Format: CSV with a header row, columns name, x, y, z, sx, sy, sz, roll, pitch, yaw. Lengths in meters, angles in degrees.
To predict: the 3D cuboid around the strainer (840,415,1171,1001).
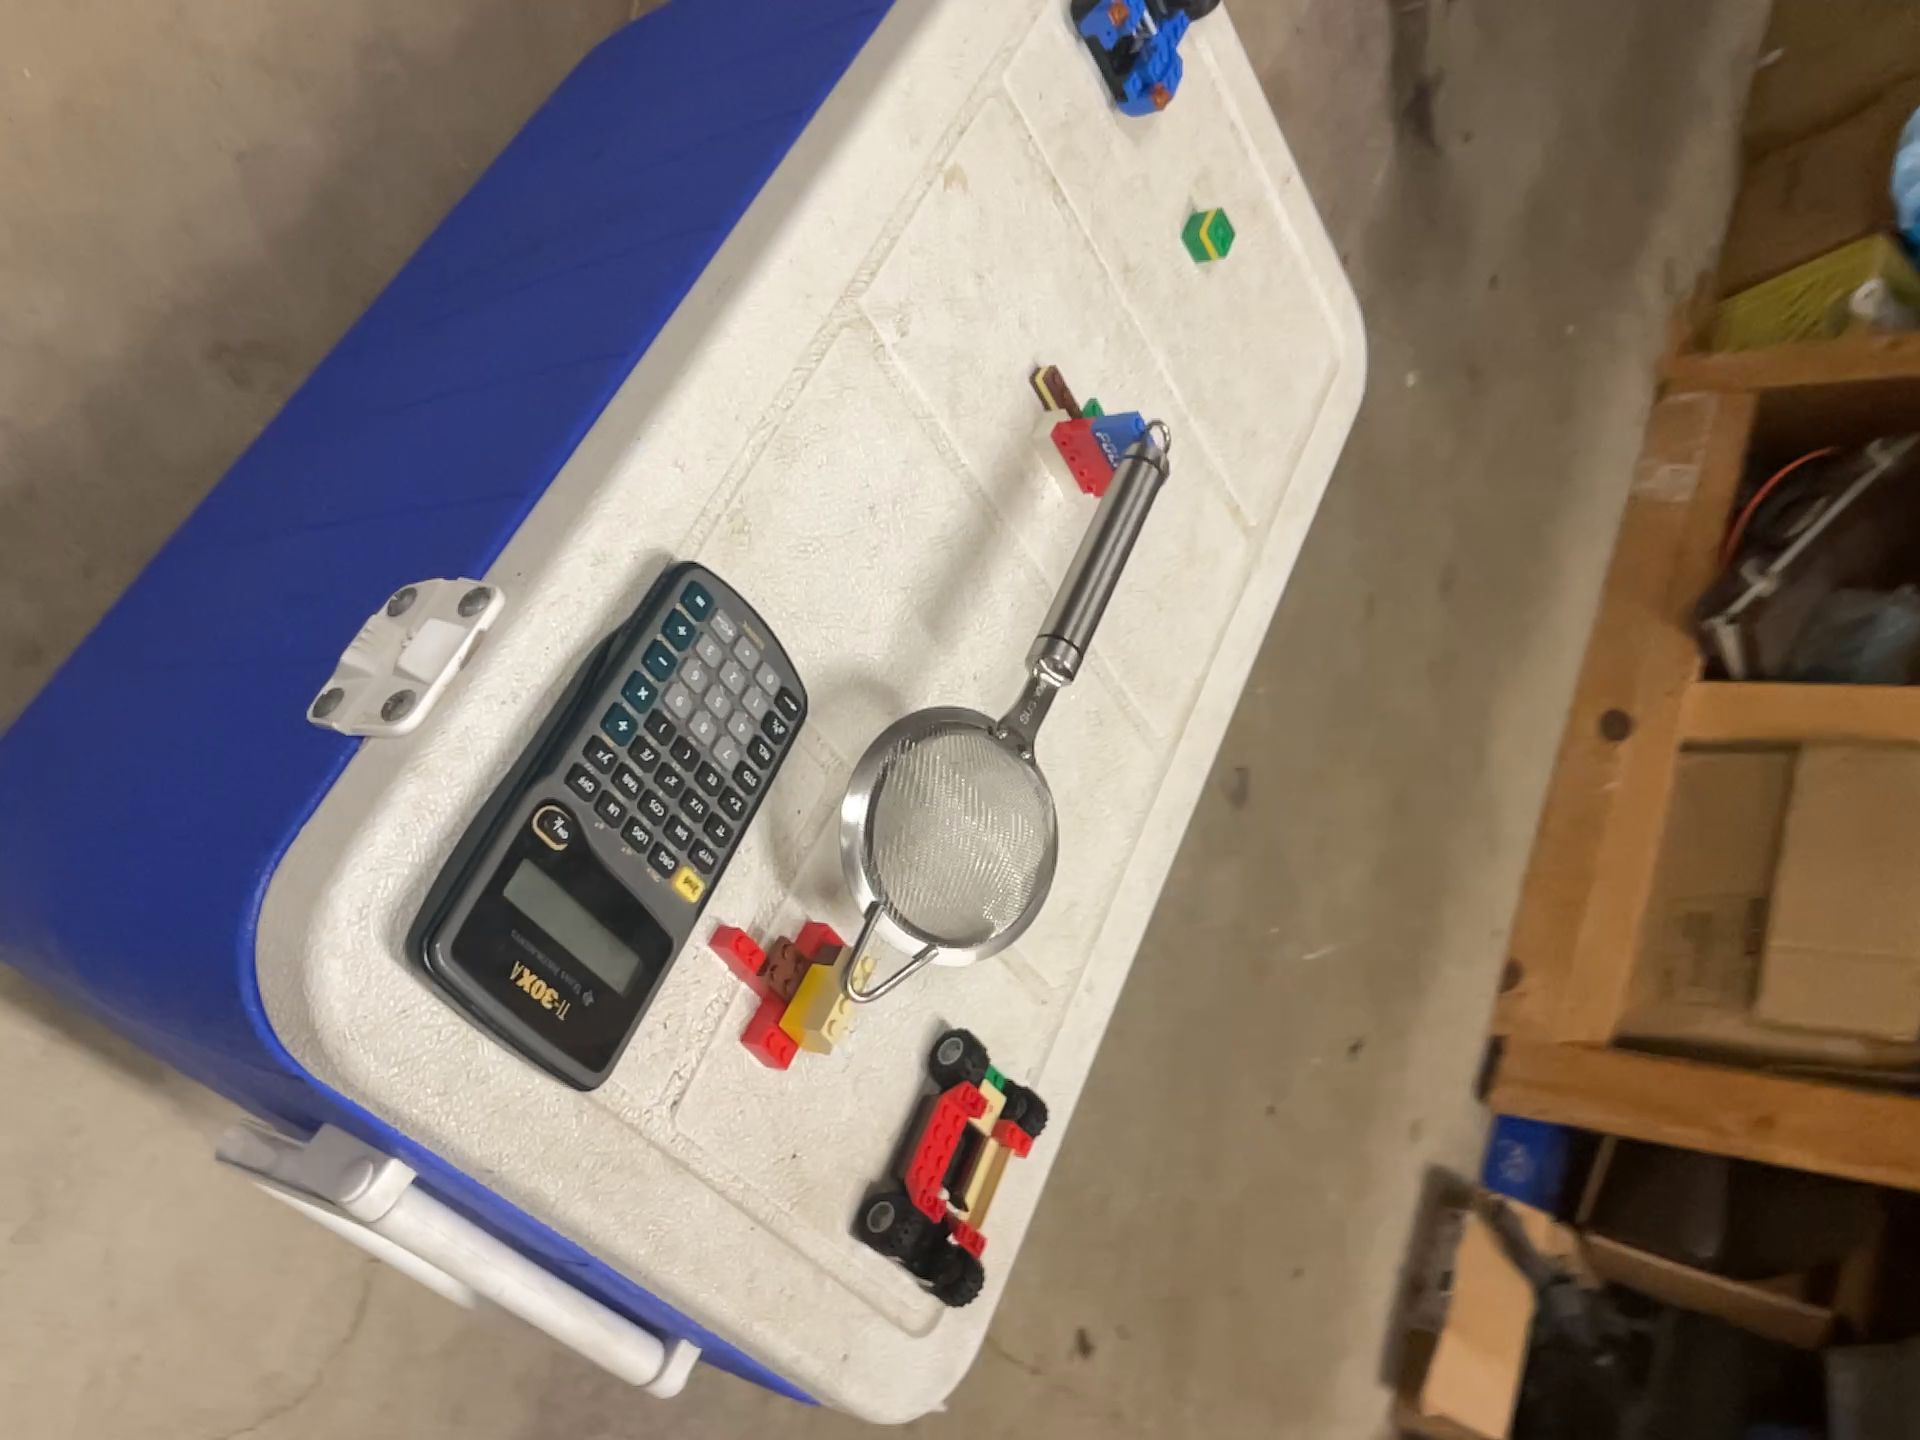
name,x,y,z,sx,sy,sz,roll,pitch,yaw
strainer,0.029,-0.017,0.554,0.086,0.050,0.259,41,57,-24
